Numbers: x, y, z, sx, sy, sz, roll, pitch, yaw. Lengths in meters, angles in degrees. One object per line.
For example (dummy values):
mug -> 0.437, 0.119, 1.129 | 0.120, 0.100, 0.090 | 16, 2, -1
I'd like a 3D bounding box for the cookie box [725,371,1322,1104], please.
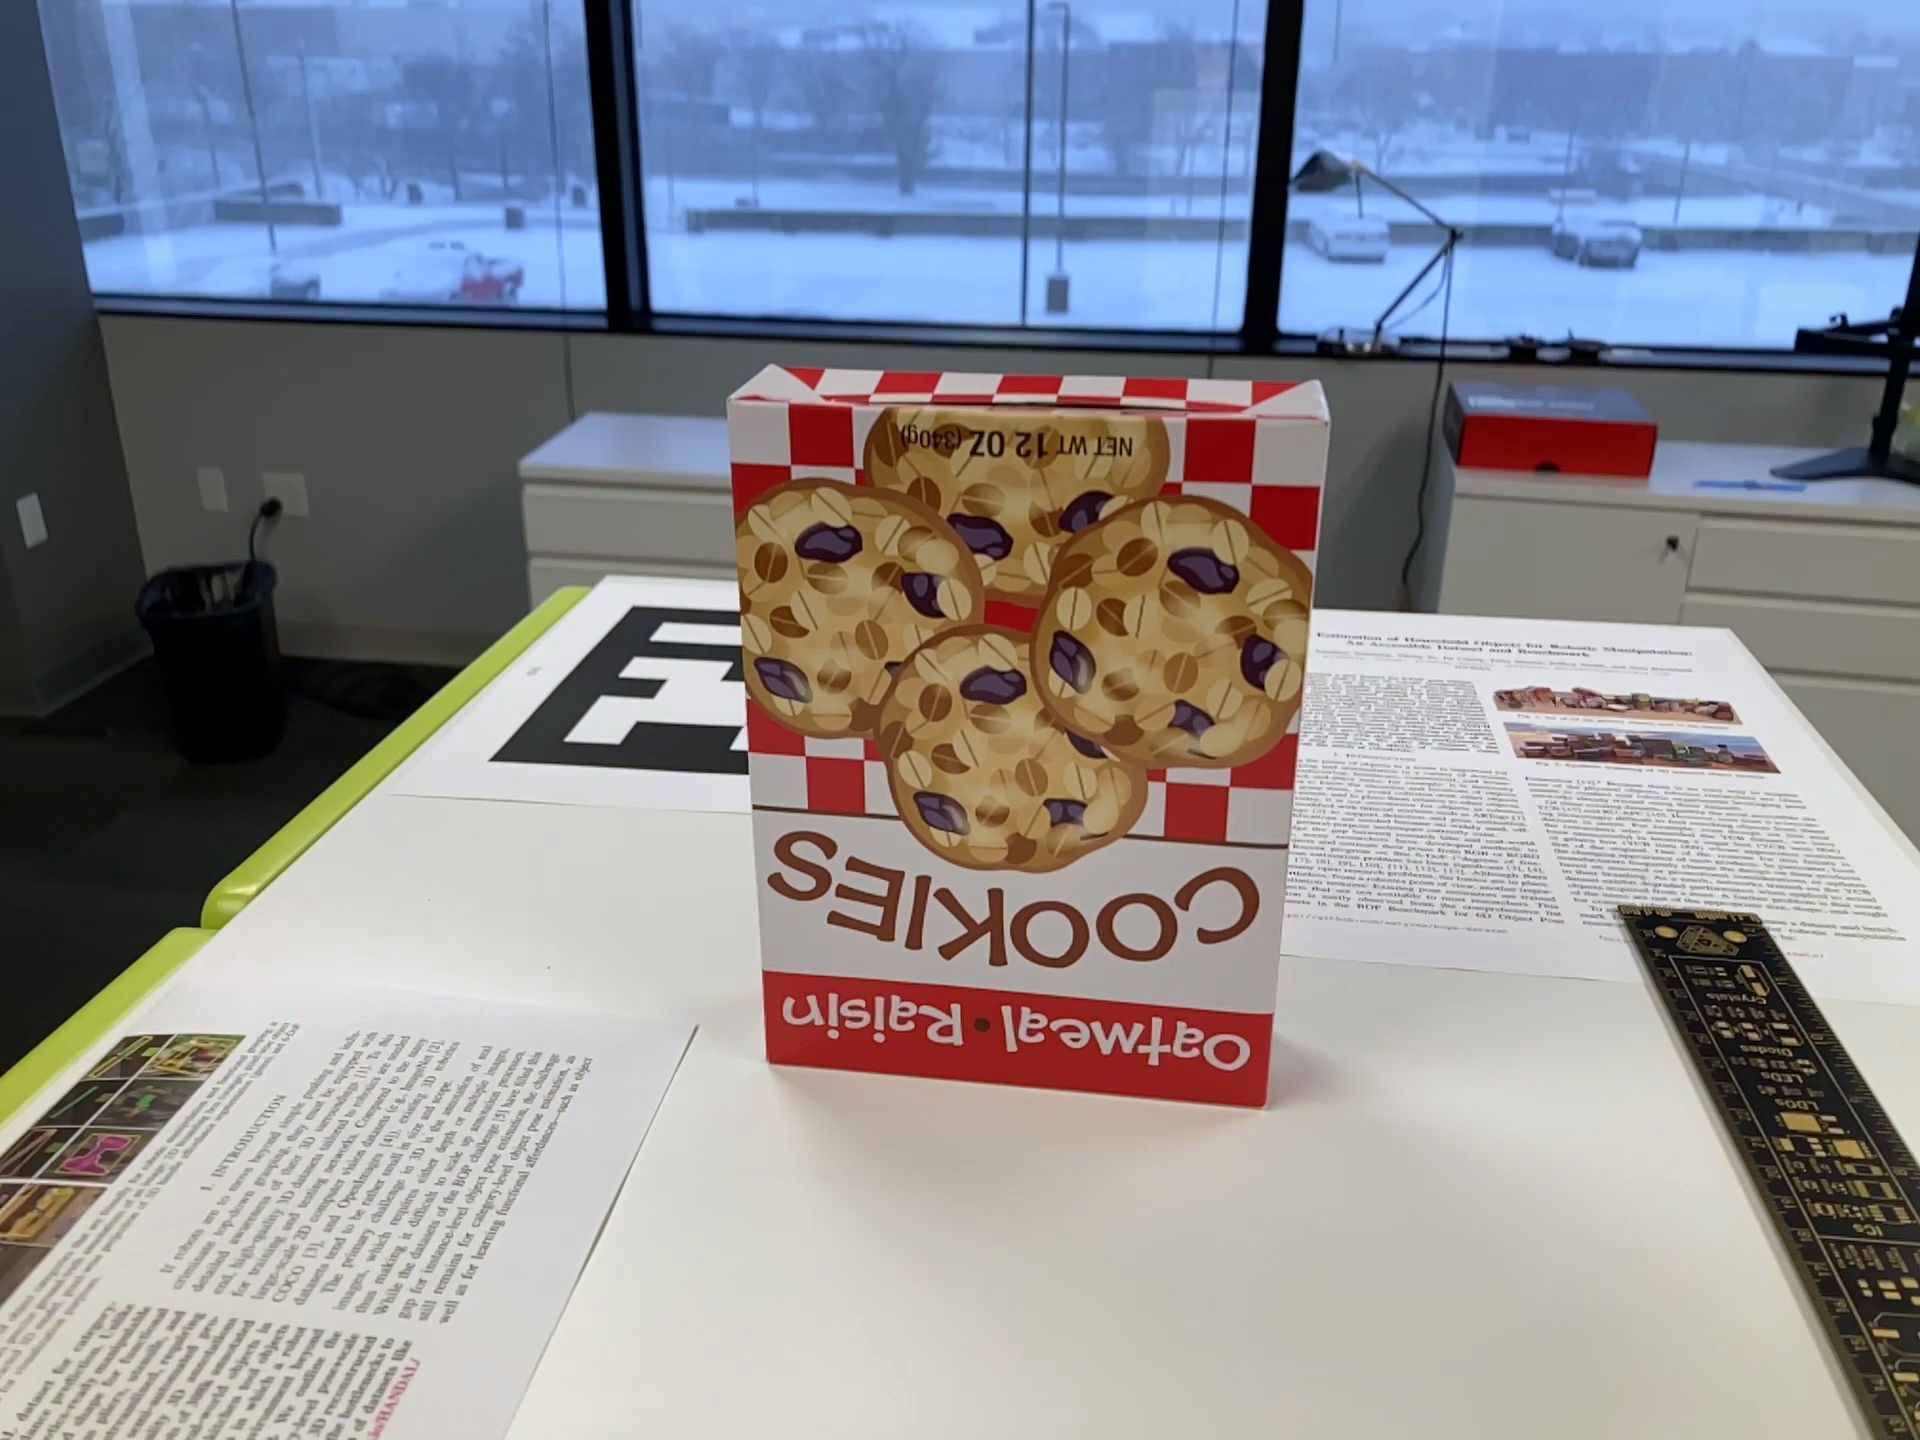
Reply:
cookie box -> 0.015, 0.006, 0.370 | 0.123, 0.167, 0.040 | 3, 24, 9
